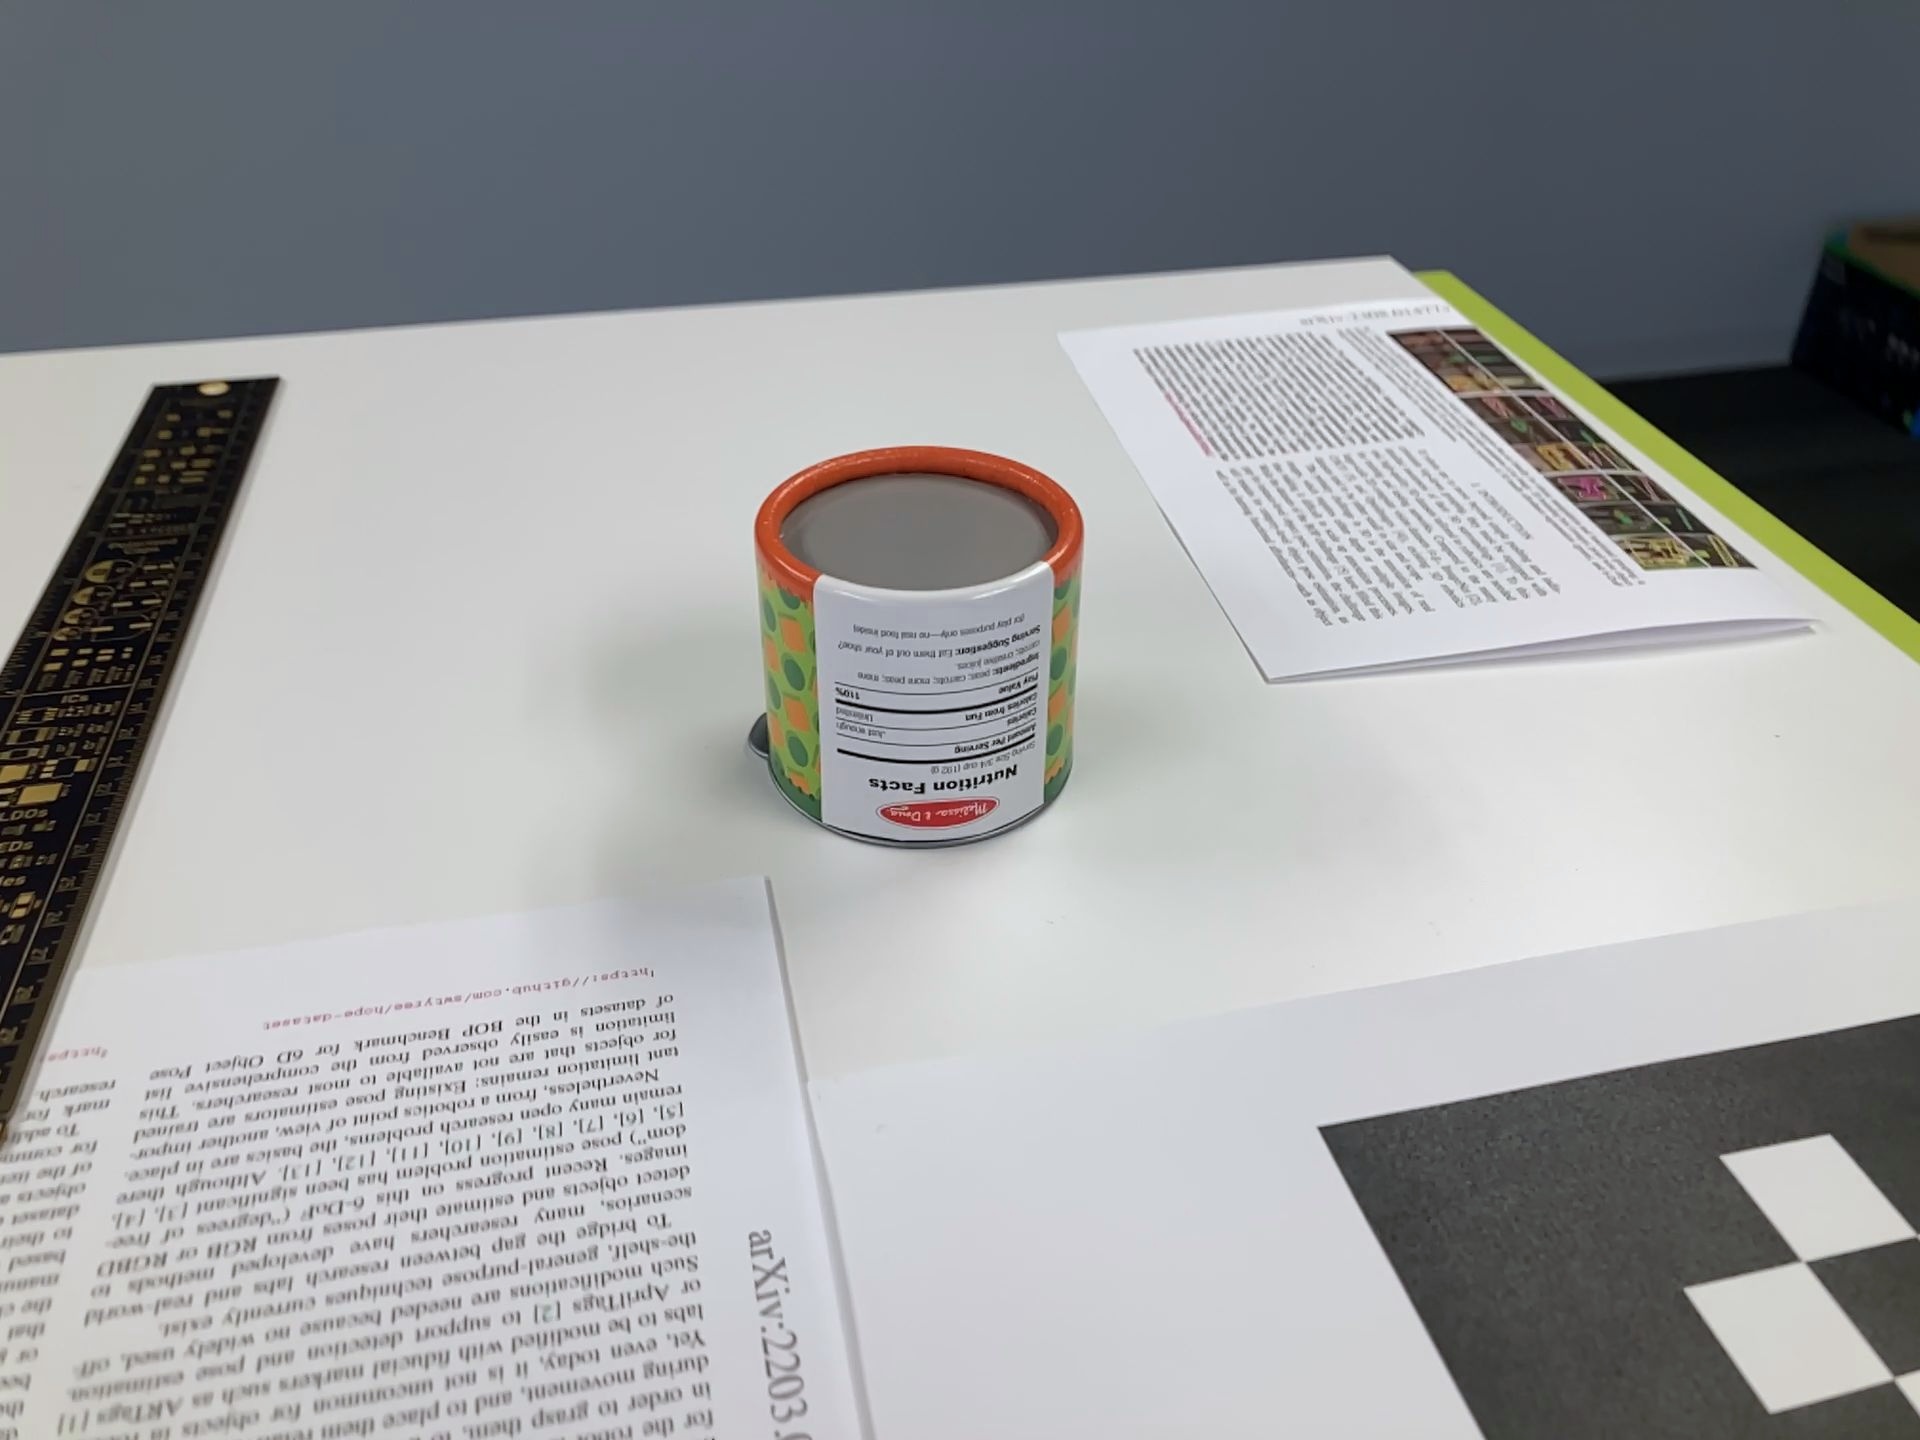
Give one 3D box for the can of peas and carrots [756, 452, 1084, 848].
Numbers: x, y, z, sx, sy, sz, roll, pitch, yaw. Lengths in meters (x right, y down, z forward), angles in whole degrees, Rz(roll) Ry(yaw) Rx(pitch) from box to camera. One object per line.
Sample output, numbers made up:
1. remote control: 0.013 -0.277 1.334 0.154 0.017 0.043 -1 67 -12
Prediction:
1. can of peas and carrots: -0.009 -0.018 0.332 0.071 0.059 0.071 1 34 -1
